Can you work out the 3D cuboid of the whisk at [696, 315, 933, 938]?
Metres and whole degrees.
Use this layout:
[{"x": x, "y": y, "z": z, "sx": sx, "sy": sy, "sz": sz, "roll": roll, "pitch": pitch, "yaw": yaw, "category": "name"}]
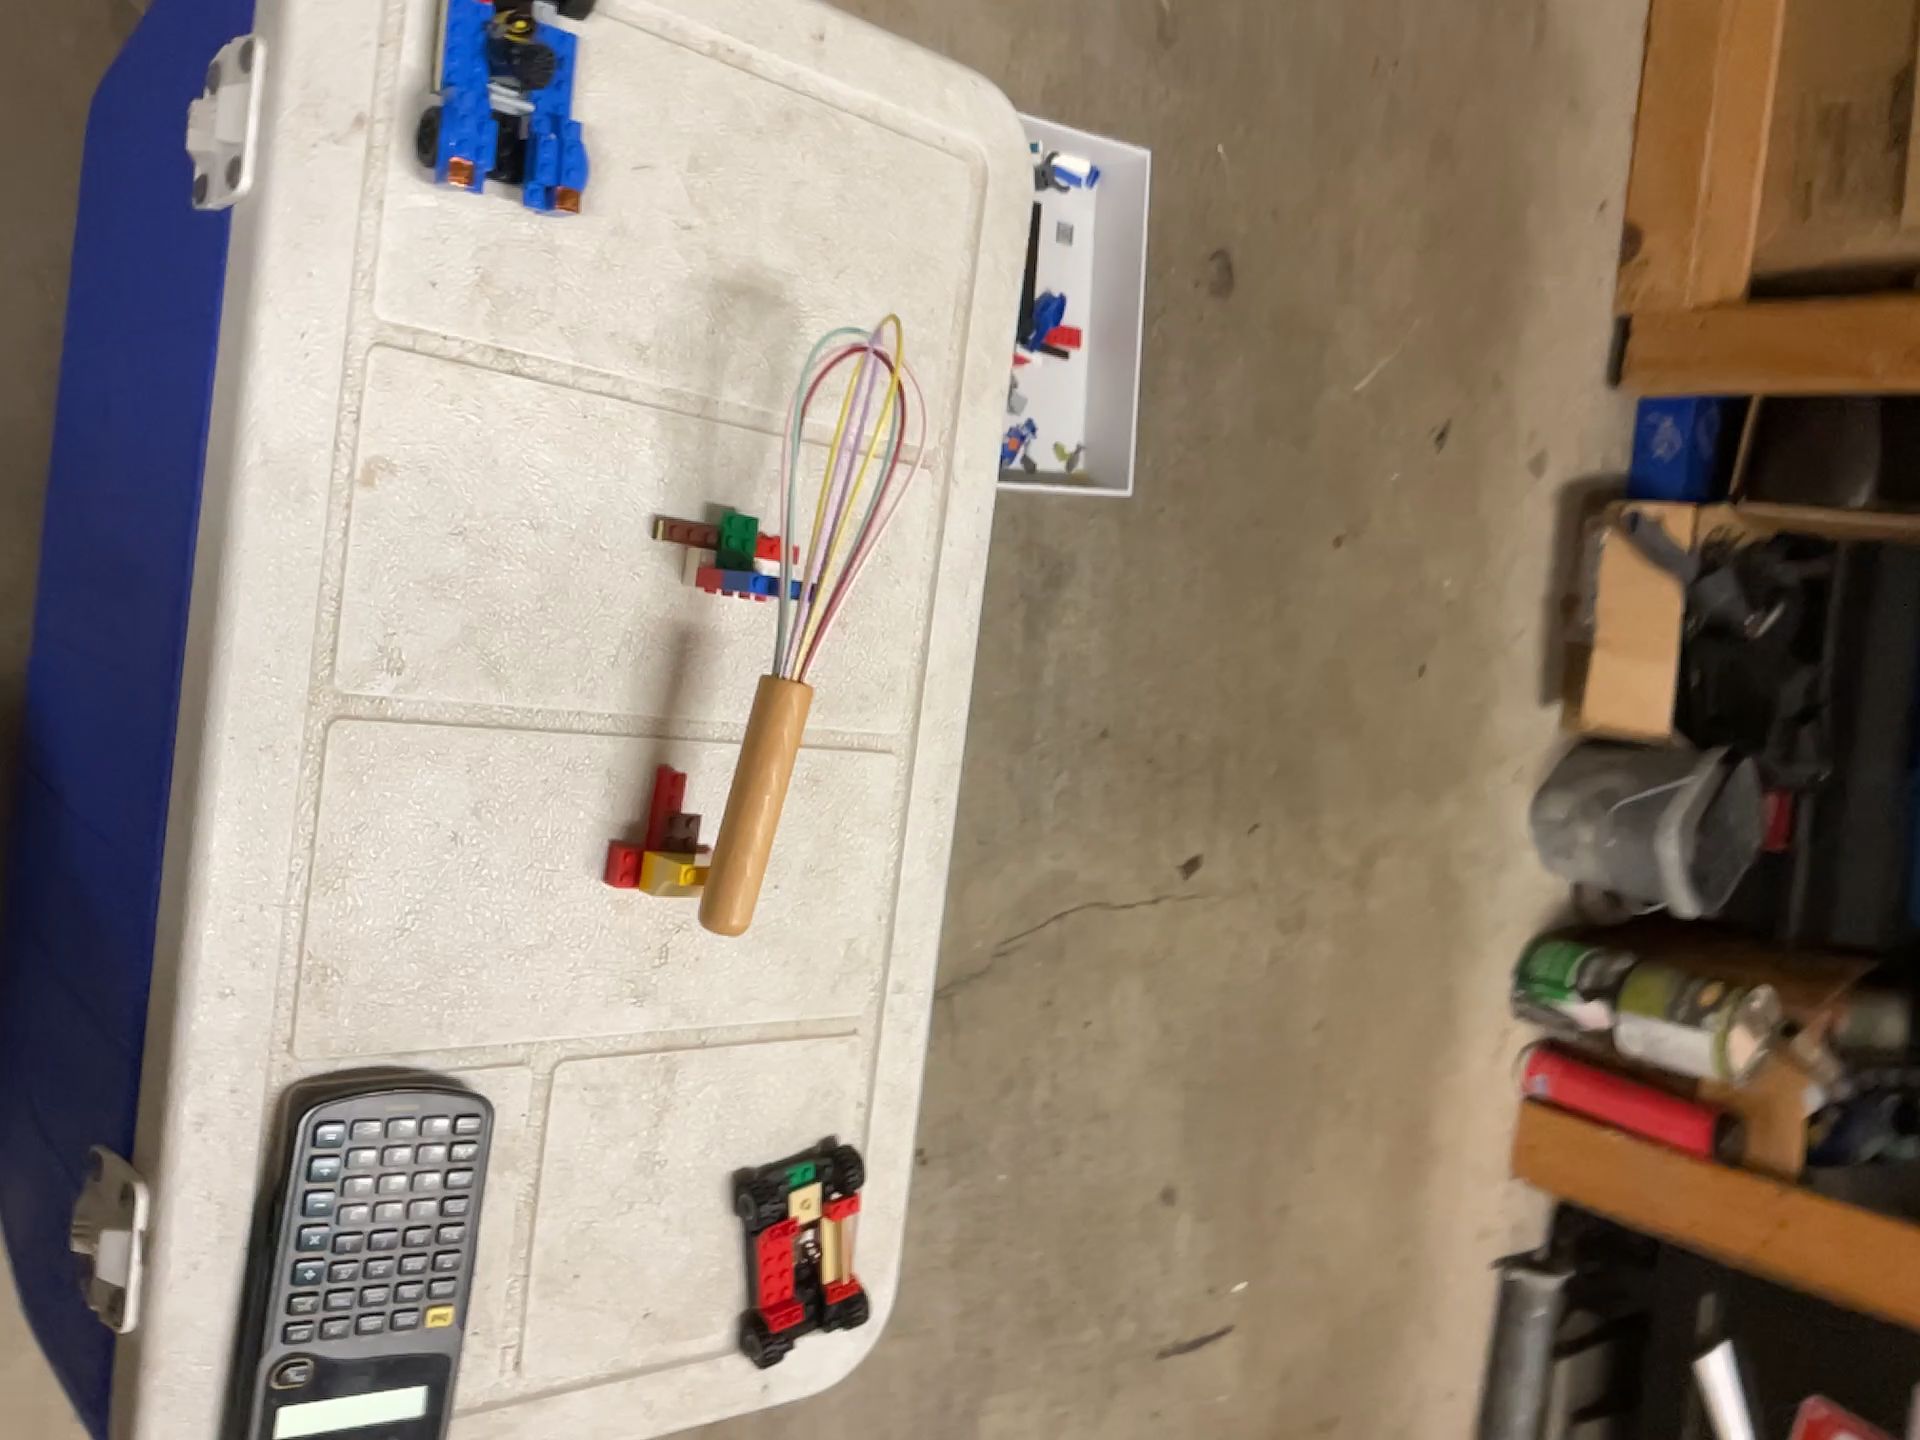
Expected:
[{"x": -0.060, "y": -0.037, "z": 0.605, "sx": 0.051, "sy": 0.047, "sz": 0.245, "roll": 16, "pitch": 90, "yaw": -54, "category": "whisk"}]
